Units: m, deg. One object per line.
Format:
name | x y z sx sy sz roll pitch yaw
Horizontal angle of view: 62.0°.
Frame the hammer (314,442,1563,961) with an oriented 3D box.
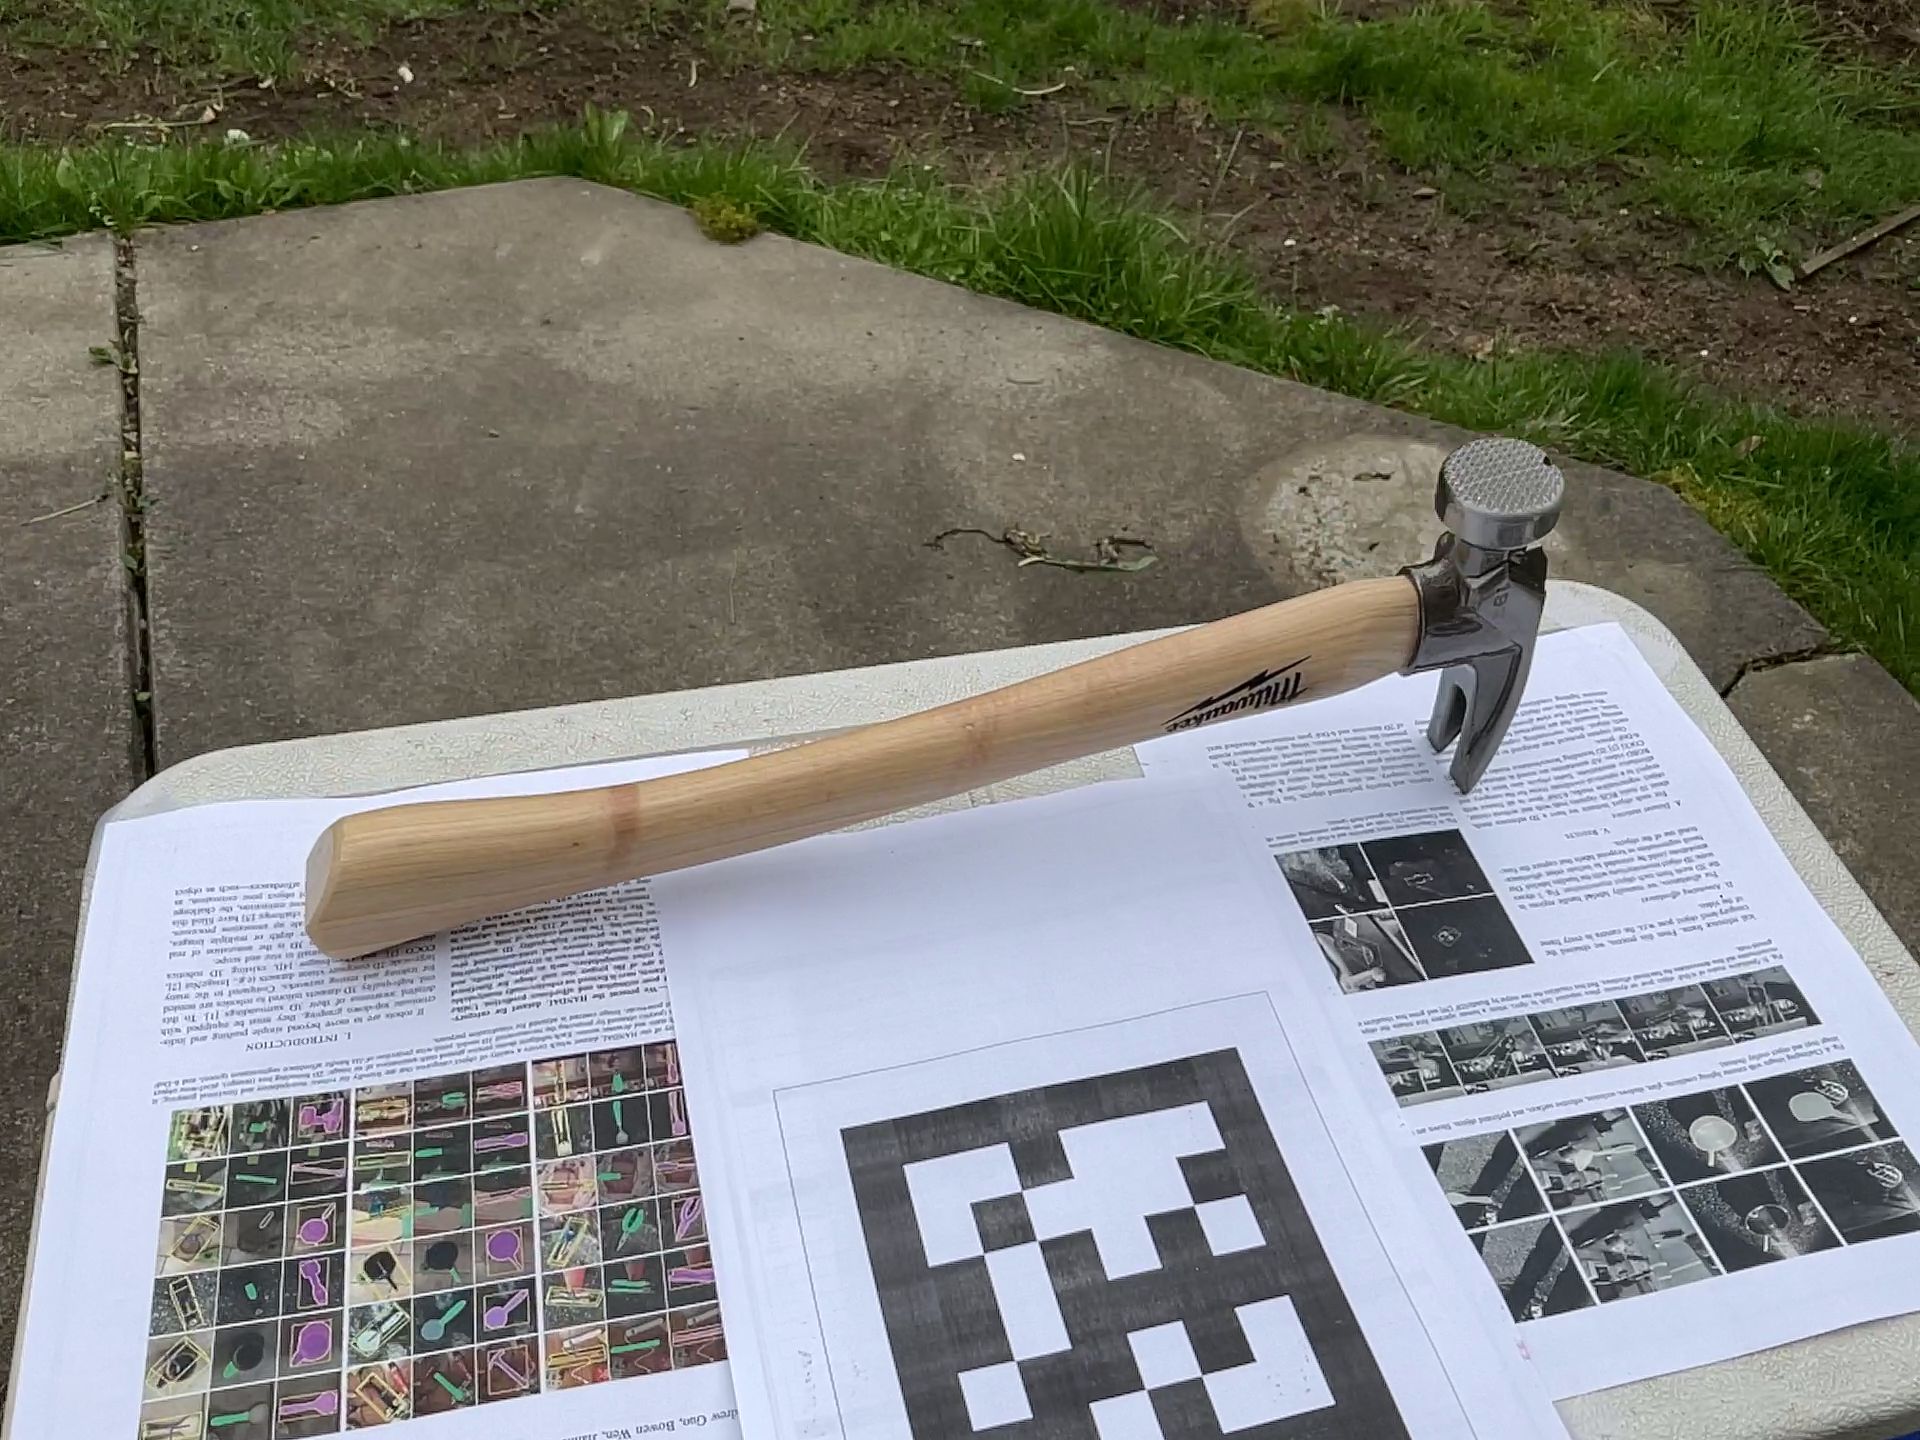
hammer | -0.004 0.017 0.537 0.410 0.146 0.038 -15 49 -5
